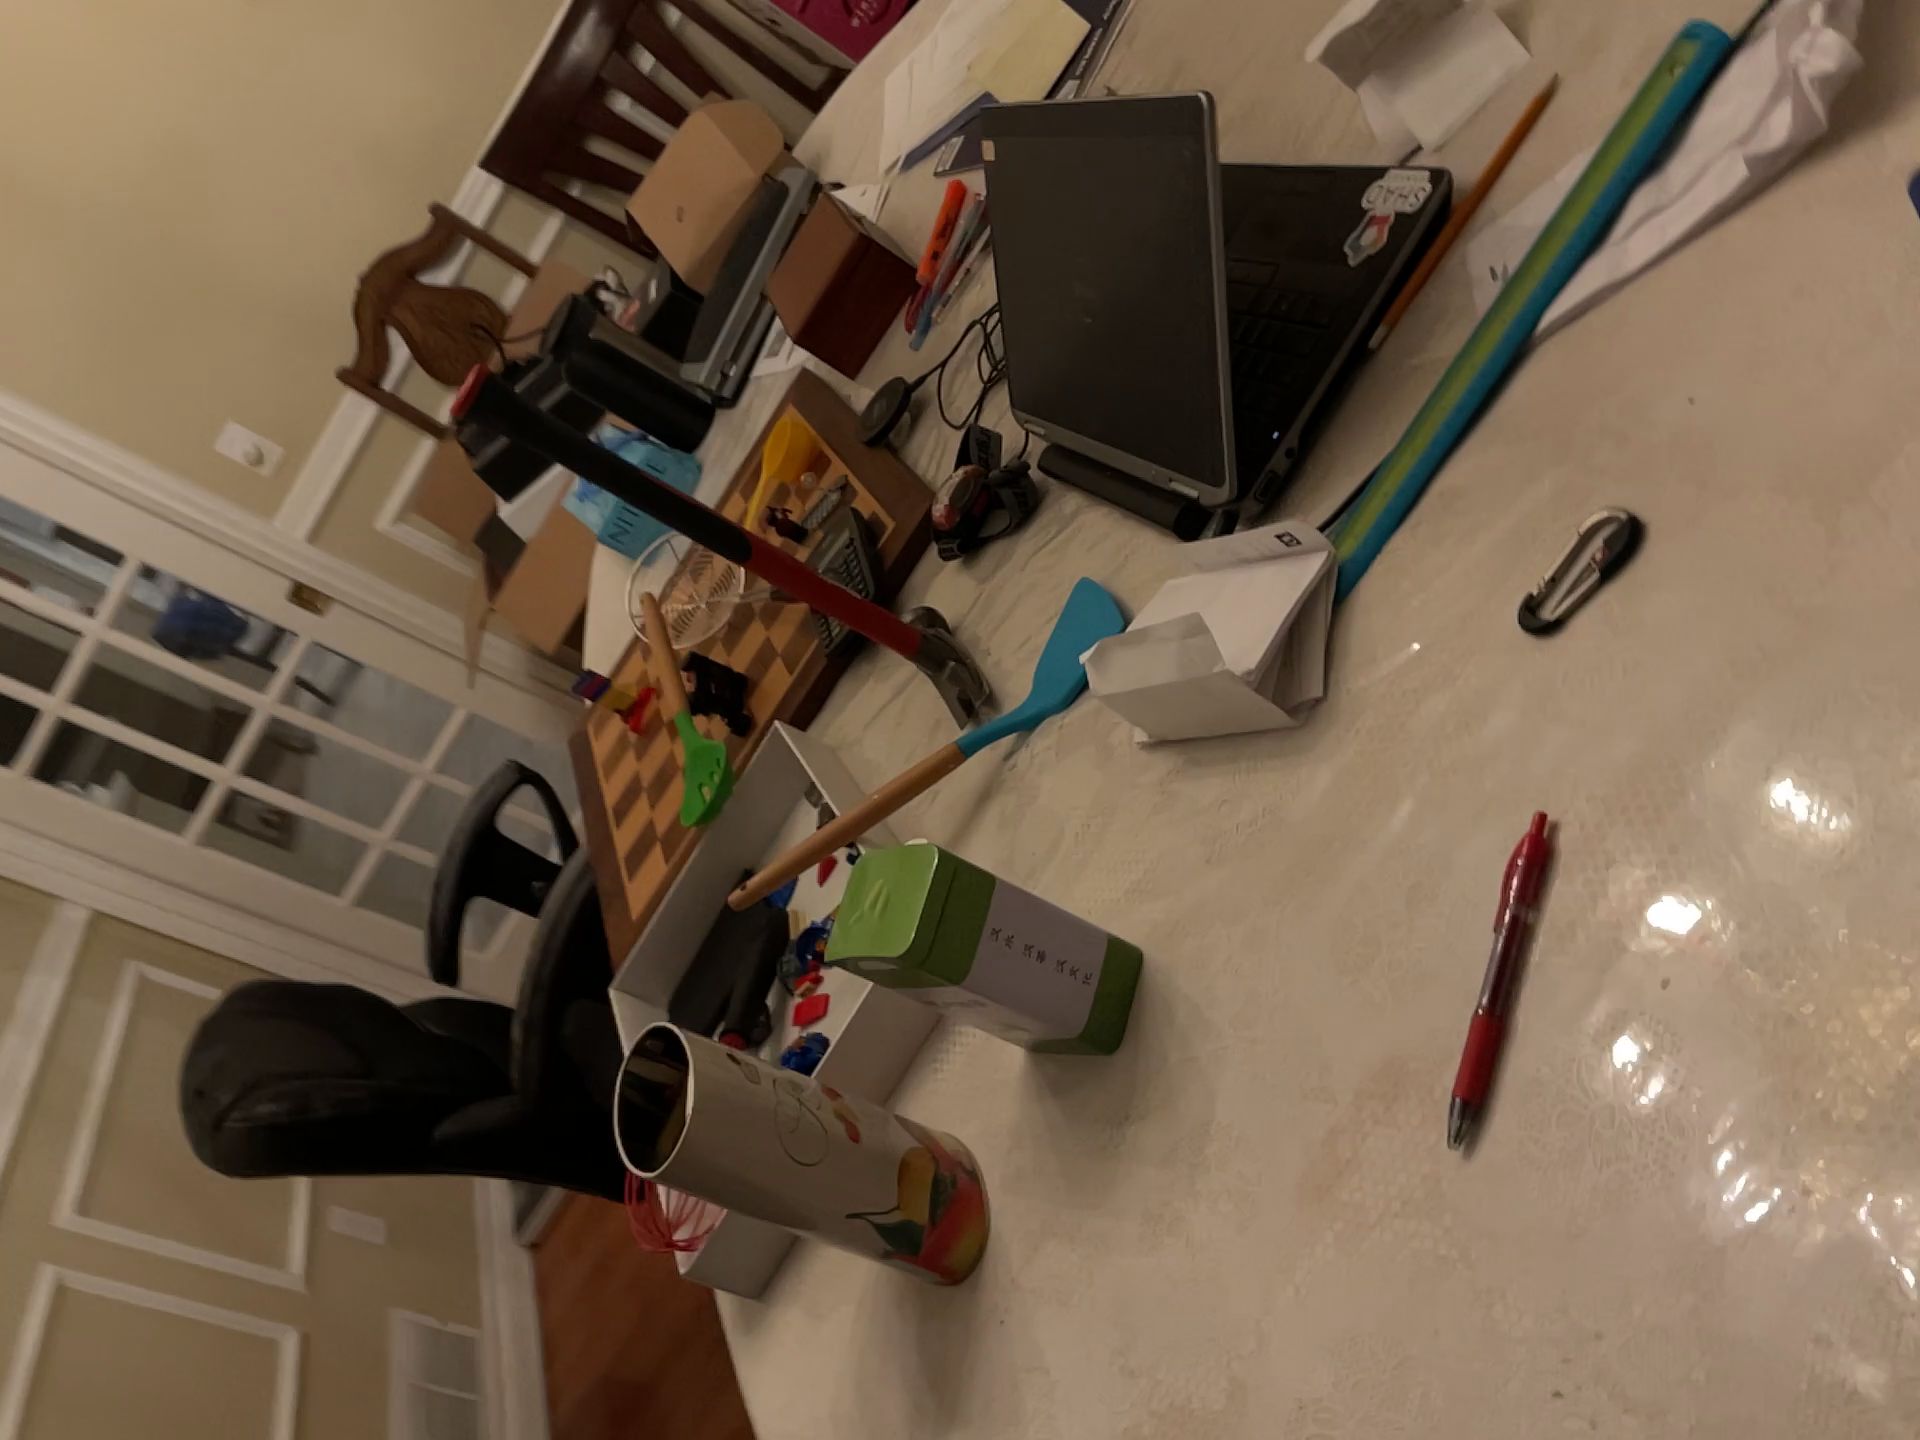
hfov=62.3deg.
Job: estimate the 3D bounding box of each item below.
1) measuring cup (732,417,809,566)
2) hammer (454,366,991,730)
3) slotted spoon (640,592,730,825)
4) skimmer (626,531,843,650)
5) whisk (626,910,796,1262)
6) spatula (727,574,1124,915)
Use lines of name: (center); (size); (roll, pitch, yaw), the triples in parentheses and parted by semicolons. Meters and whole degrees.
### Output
measuring cup: (-0.187, -0.219, 1.560); (0.156, 0.029, 0.062); (-67, 28, 16)
hammer: (-0.146, -0.112, 1.042); (0.038, 0.385, 0.143); (-54, 28, 13)
slotted spoon: (-0.238, -0.019, 1.341); (0.070, 0.031, 0.314); (-52, 38, 21)
skimmer: (-0.205, -0.124, 1.410); (0.364, 0.090, 0.127); (2, 65, 64)
whisk: (-0.155, 0.231, 1.063); (0.073, 0.073, 0.296); (-23, 29, 25)
spatula: (-0.026, 0.026, 1.022); (0.317, 0.044, 0.082); (-35, 33, 5)
